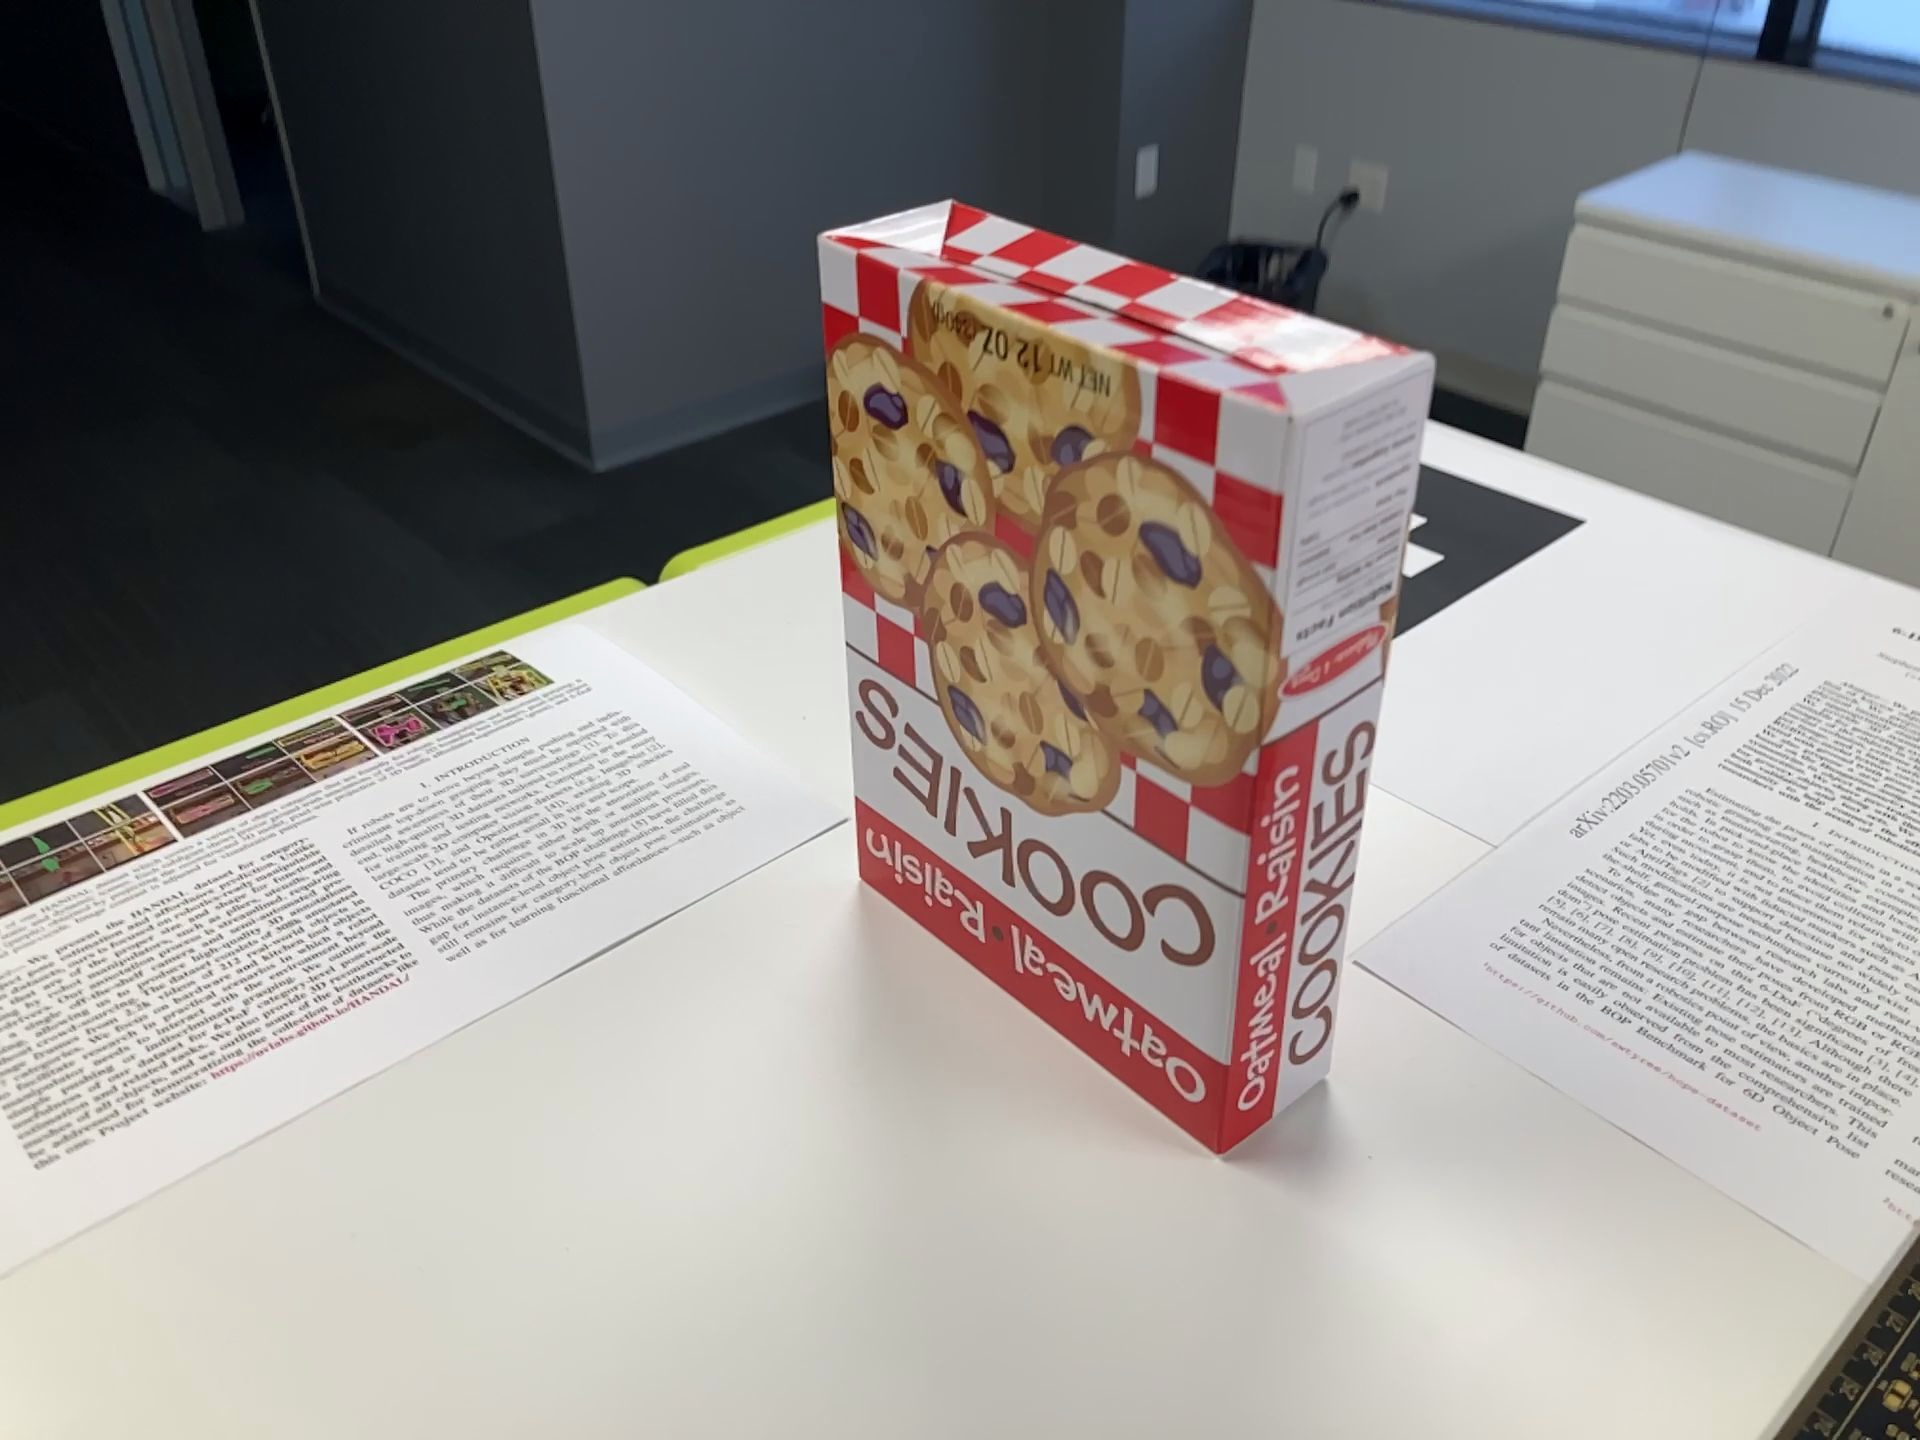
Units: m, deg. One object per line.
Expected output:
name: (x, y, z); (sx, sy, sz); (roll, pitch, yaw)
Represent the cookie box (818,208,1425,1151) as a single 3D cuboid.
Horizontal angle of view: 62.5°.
cookie box: (0.026, -0.009, 0.334); (0.040, 0.167, 0.123); (-26, 41, -32)
